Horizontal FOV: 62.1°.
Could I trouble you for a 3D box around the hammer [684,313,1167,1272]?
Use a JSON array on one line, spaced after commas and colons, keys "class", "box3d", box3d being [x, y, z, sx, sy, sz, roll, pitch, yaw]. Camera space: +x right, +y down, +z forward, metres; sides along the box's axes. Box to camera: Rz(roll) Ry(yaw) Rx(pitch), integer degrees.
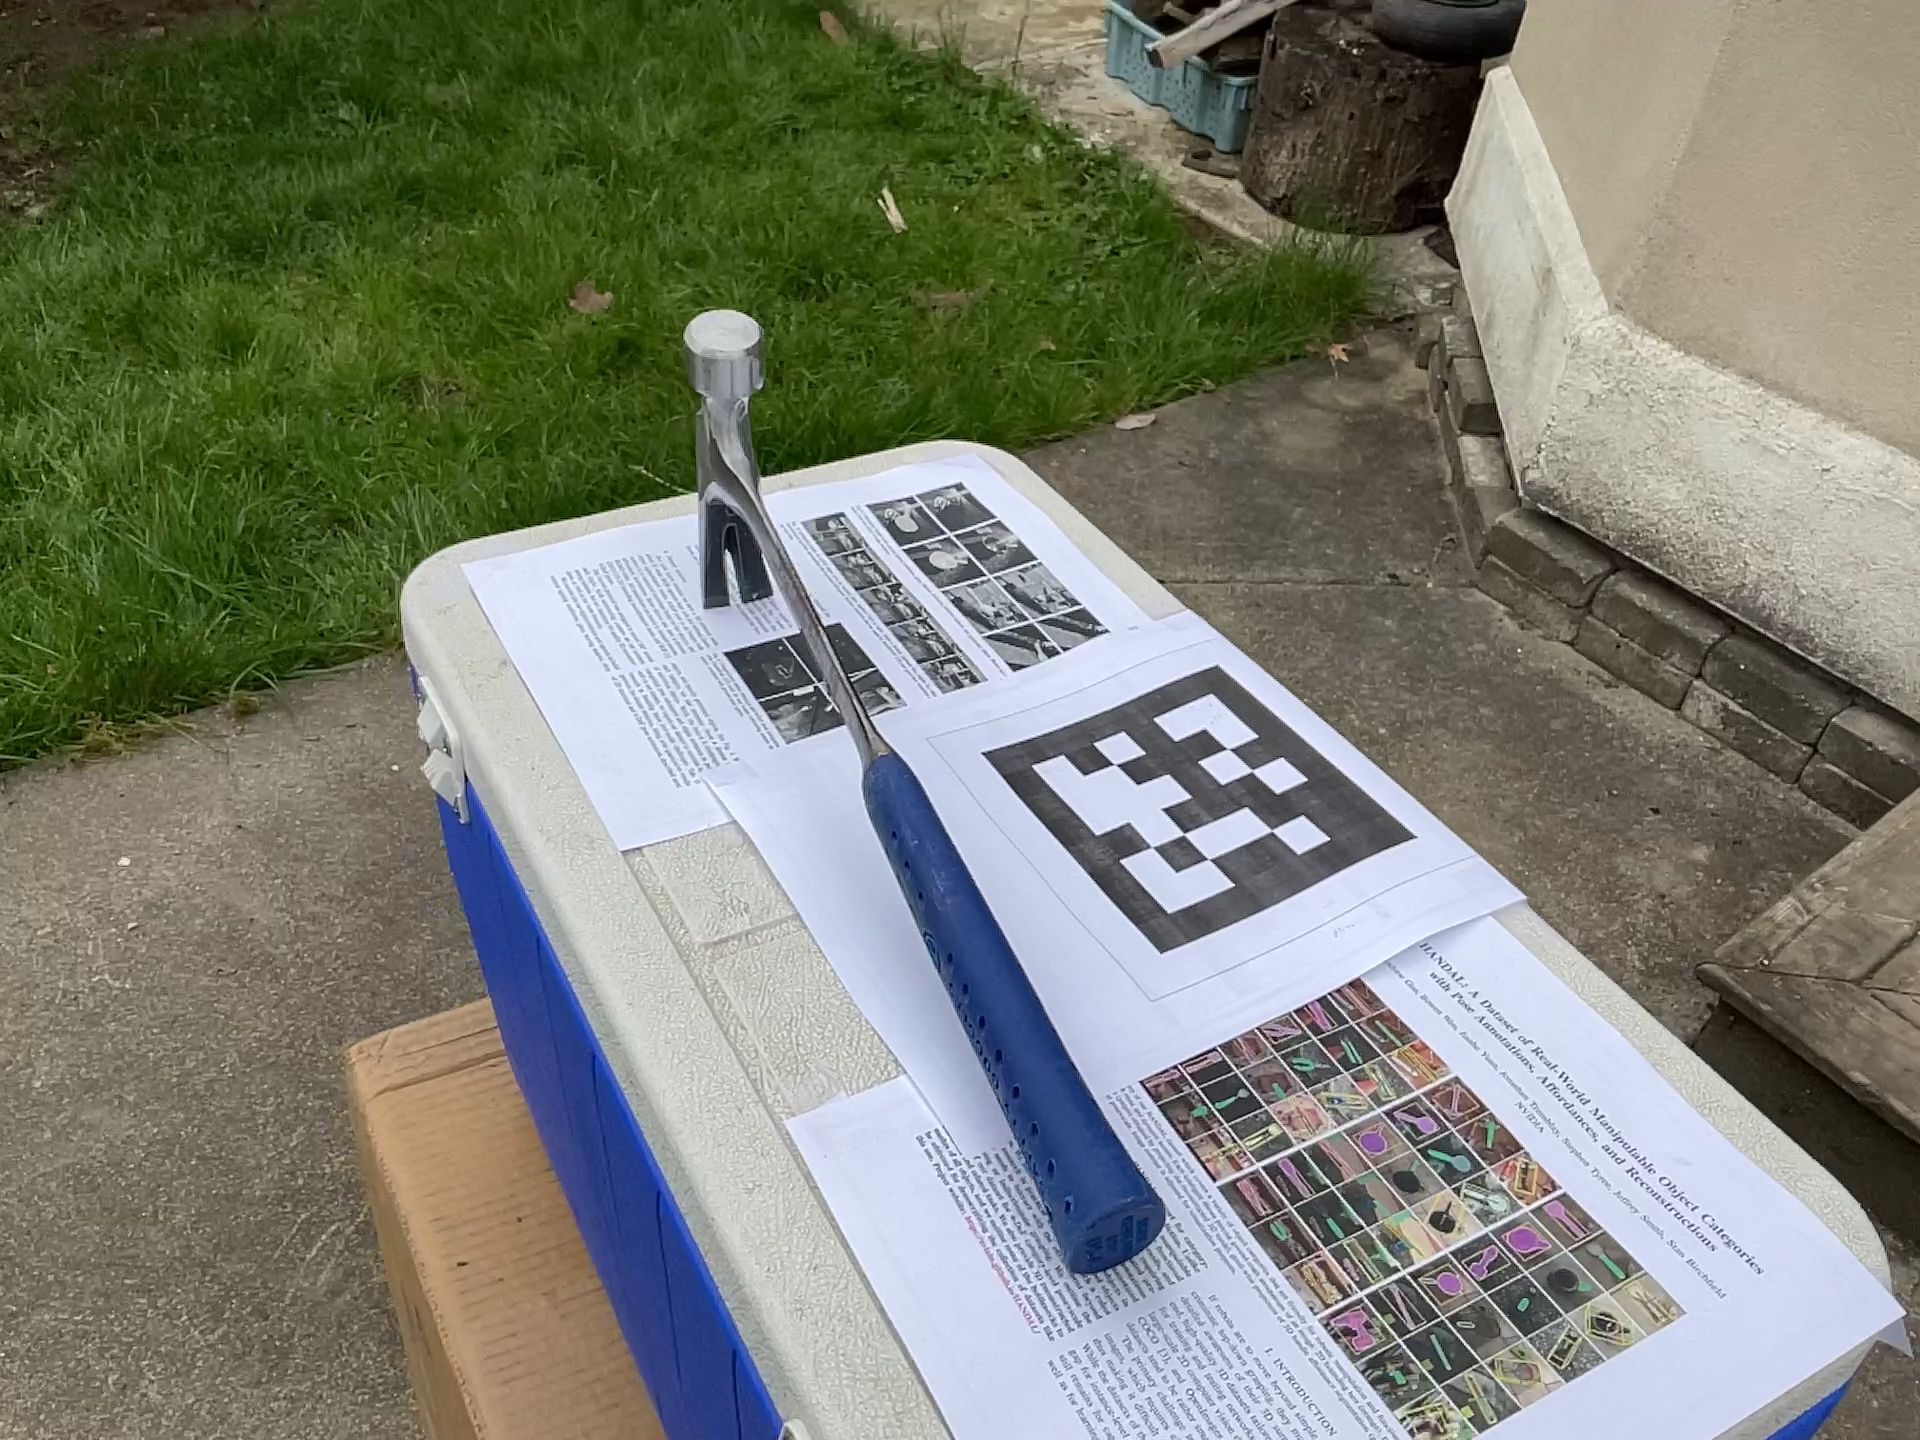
[{"class": "hammer", "box3d": [-0.032, 0.018, 0.603, 0.035, 0.144, 0.406, -14, 51, -19]}]
